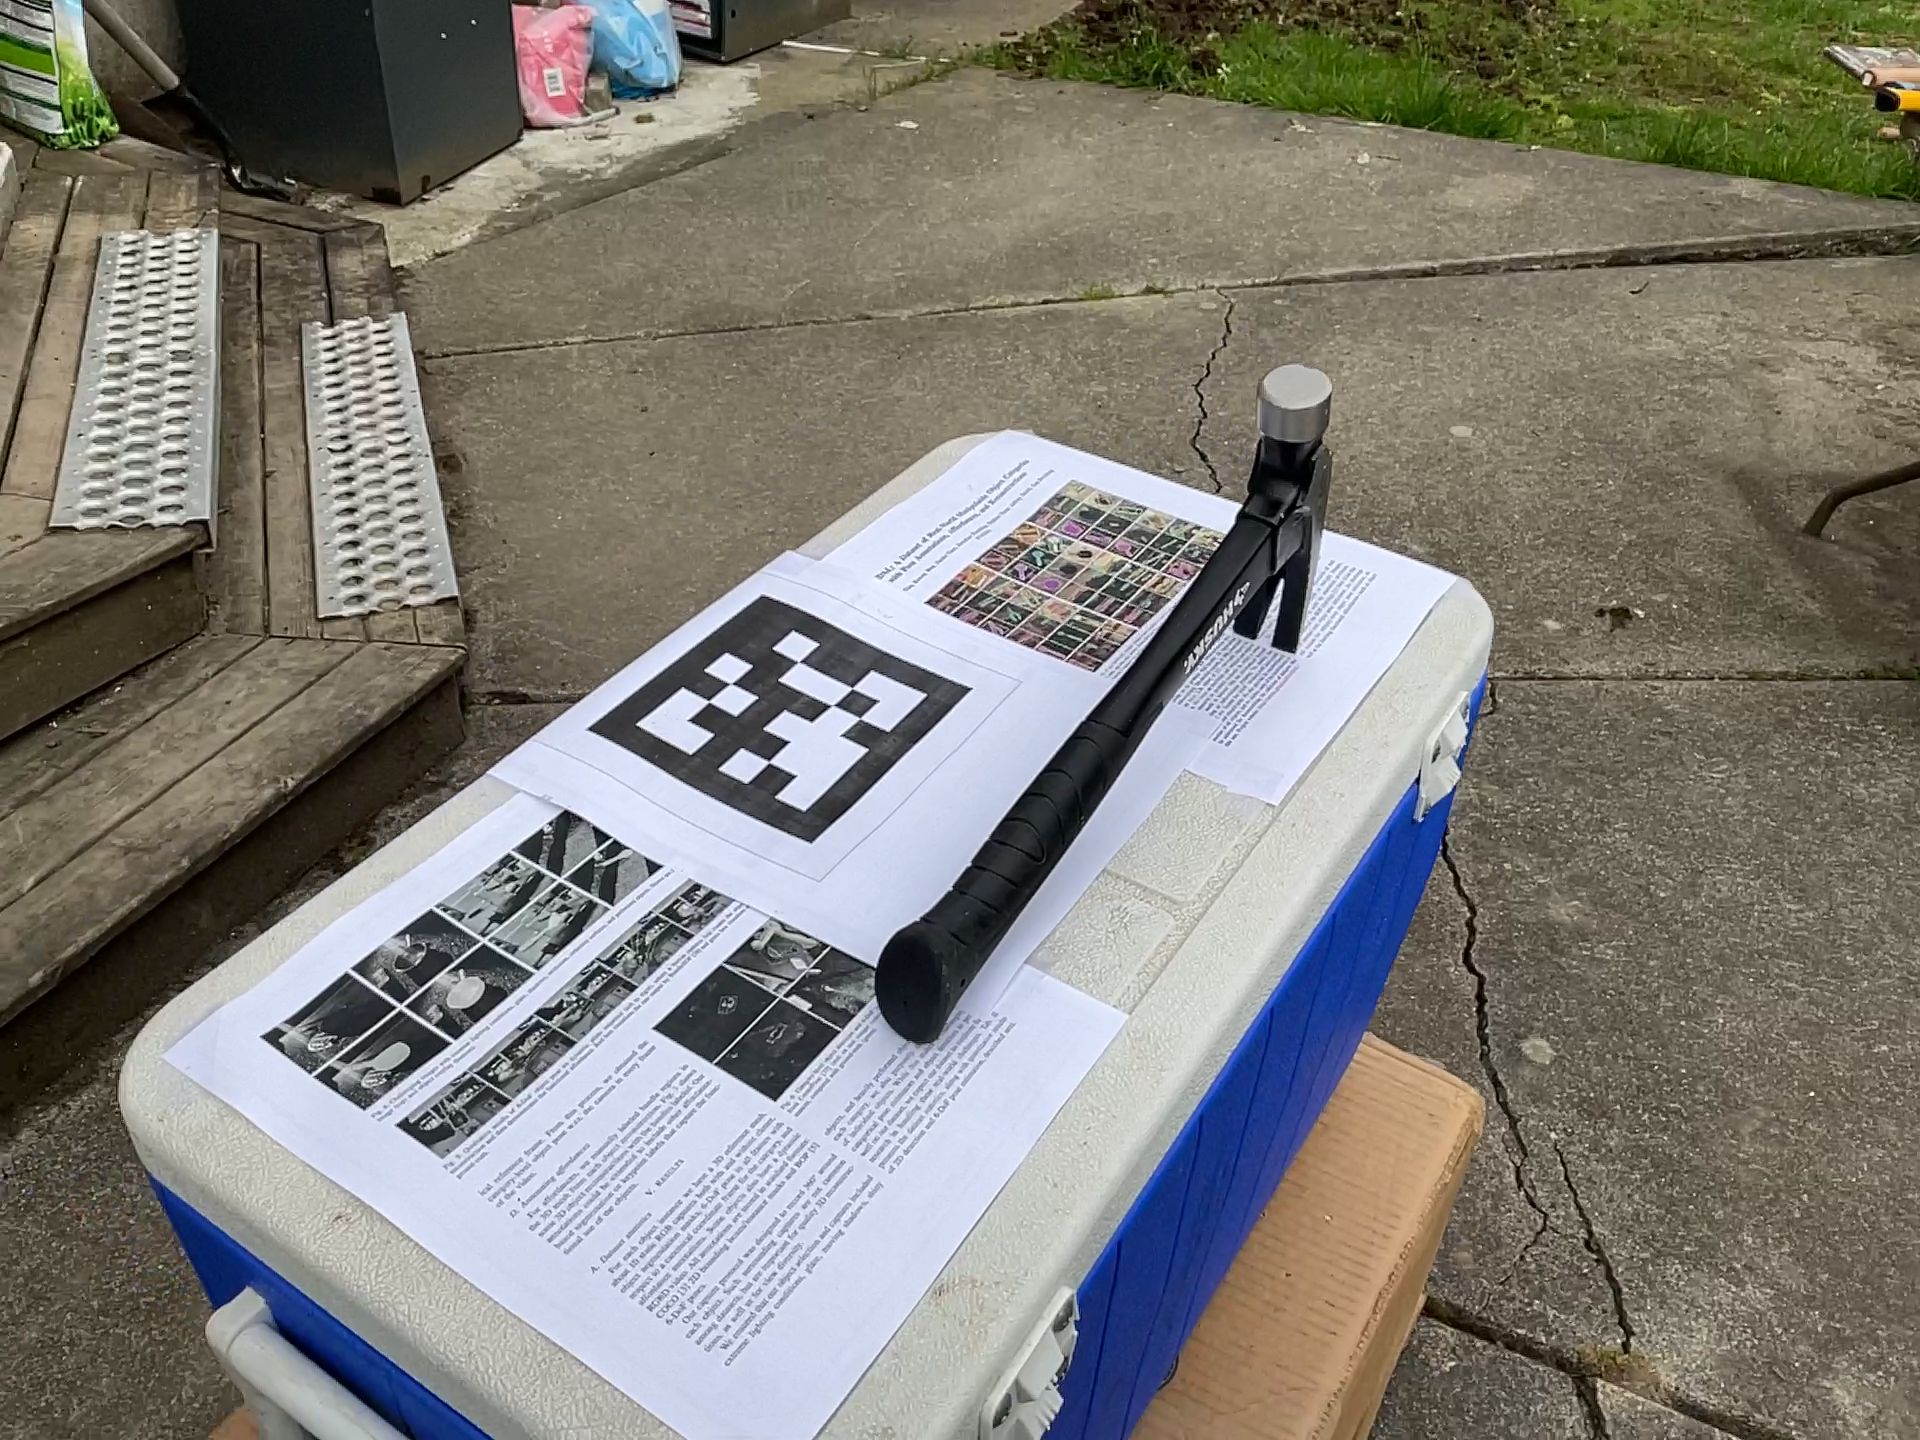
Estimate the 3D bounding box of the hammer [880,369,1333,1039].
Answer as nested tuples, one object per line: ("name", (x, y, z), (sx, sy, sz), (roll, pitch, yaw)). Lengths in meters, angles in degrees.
("hammer", (0.072, 0.001, 0.679), (0.035, 0.146, 0.334), (23, 55, 26))
